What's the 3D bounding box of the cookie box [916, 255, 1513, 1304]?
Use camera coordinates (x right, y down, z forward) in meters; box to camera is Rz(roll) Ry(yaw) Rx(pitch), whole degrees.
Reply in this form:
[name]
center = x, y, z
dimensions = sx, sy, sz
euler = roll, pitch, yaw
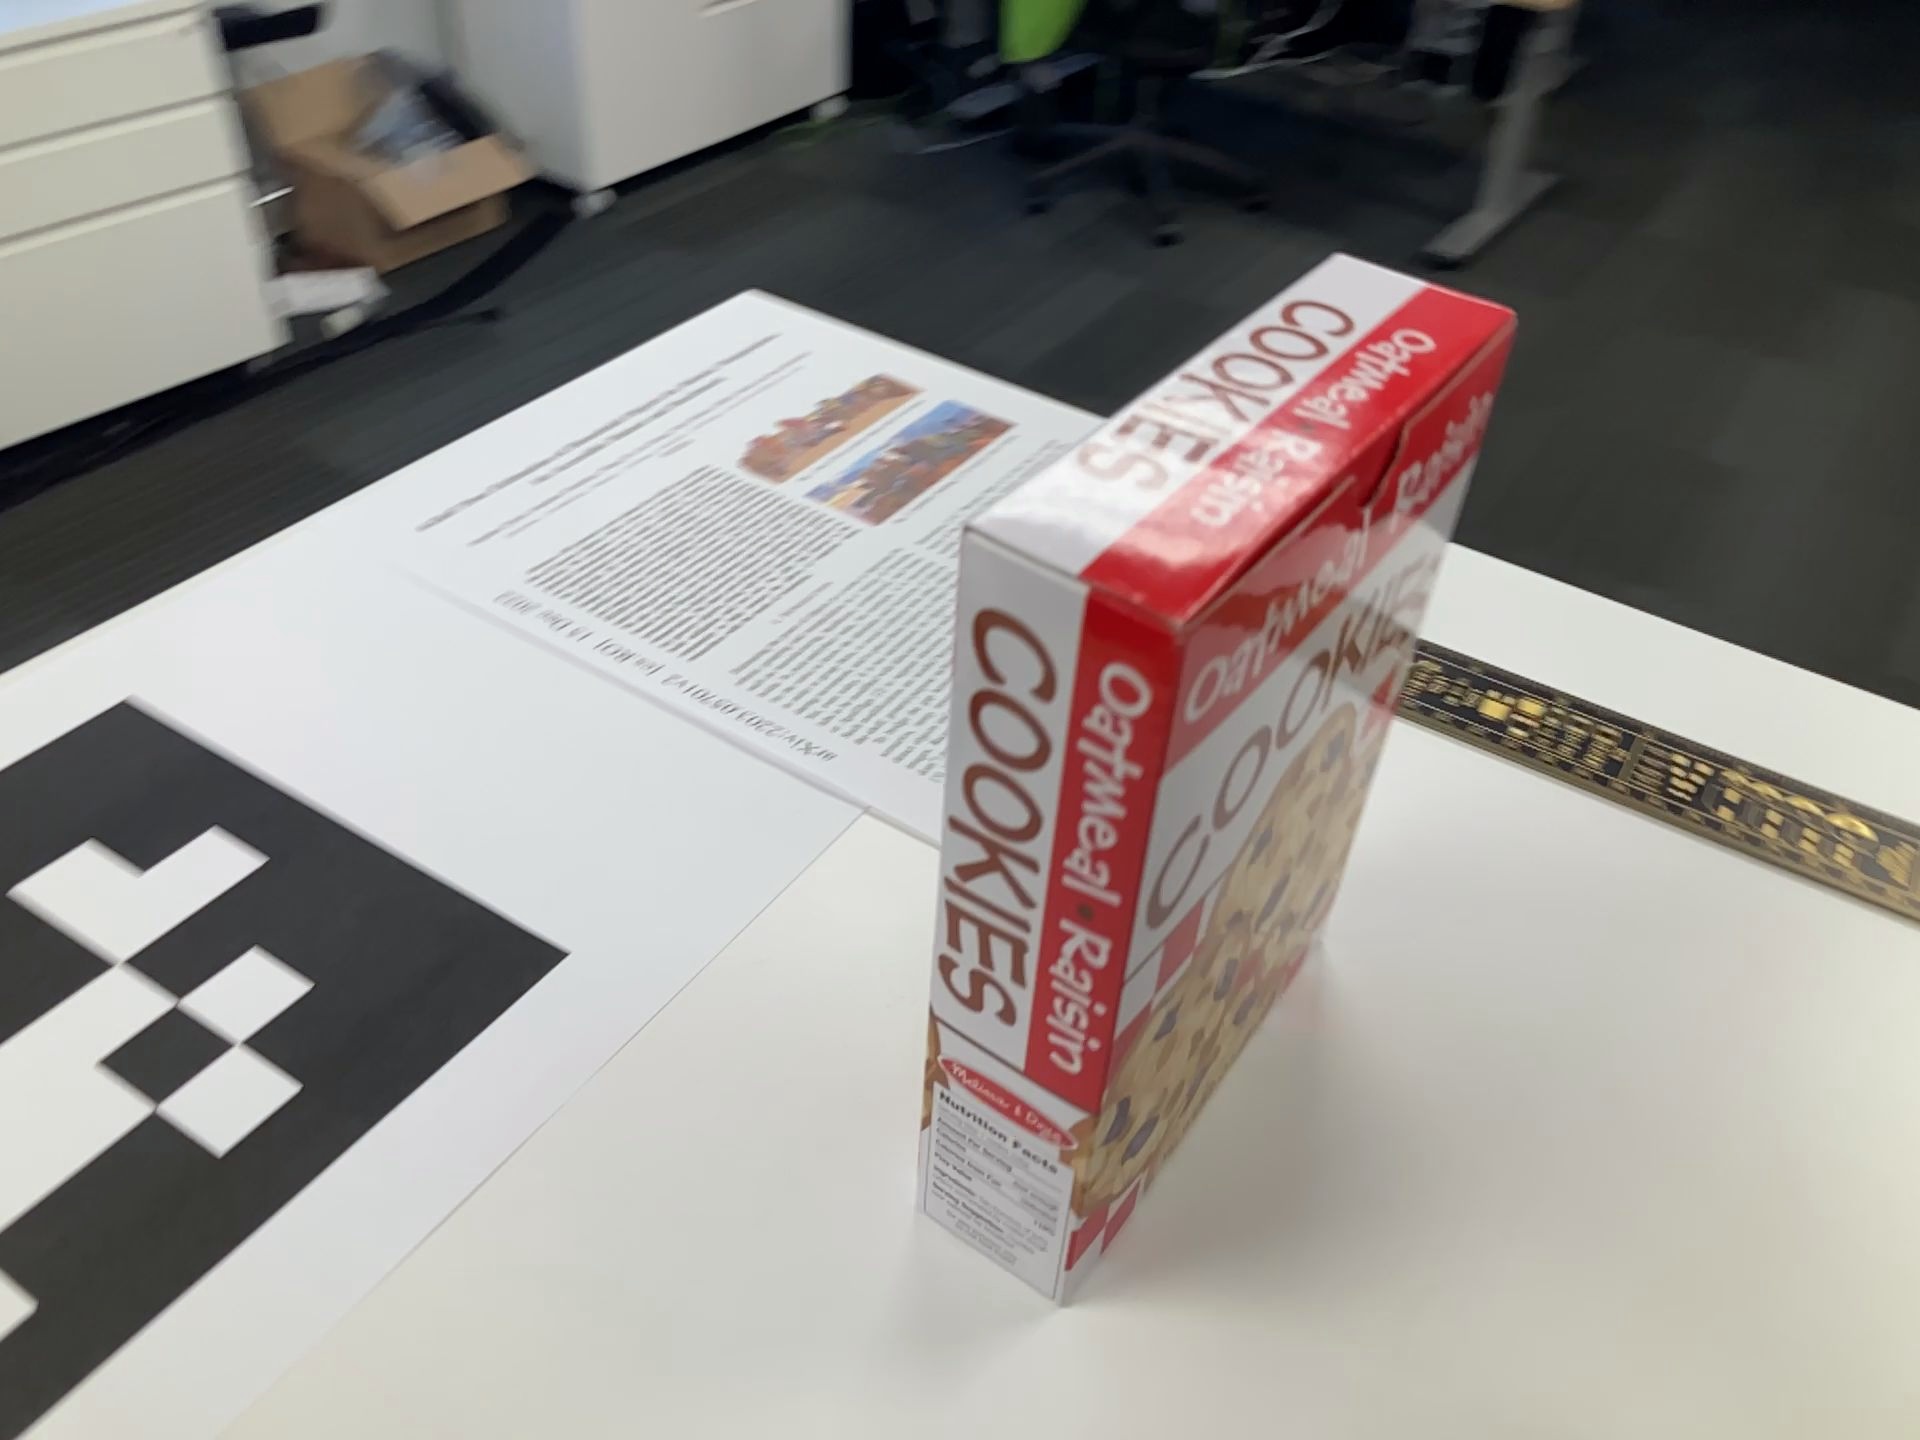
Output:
[cookie box]
center = 0.045, 0.013, 0.301
dimensions = 0.040, 0.167, 0.123
euler = 26, 44, 24
